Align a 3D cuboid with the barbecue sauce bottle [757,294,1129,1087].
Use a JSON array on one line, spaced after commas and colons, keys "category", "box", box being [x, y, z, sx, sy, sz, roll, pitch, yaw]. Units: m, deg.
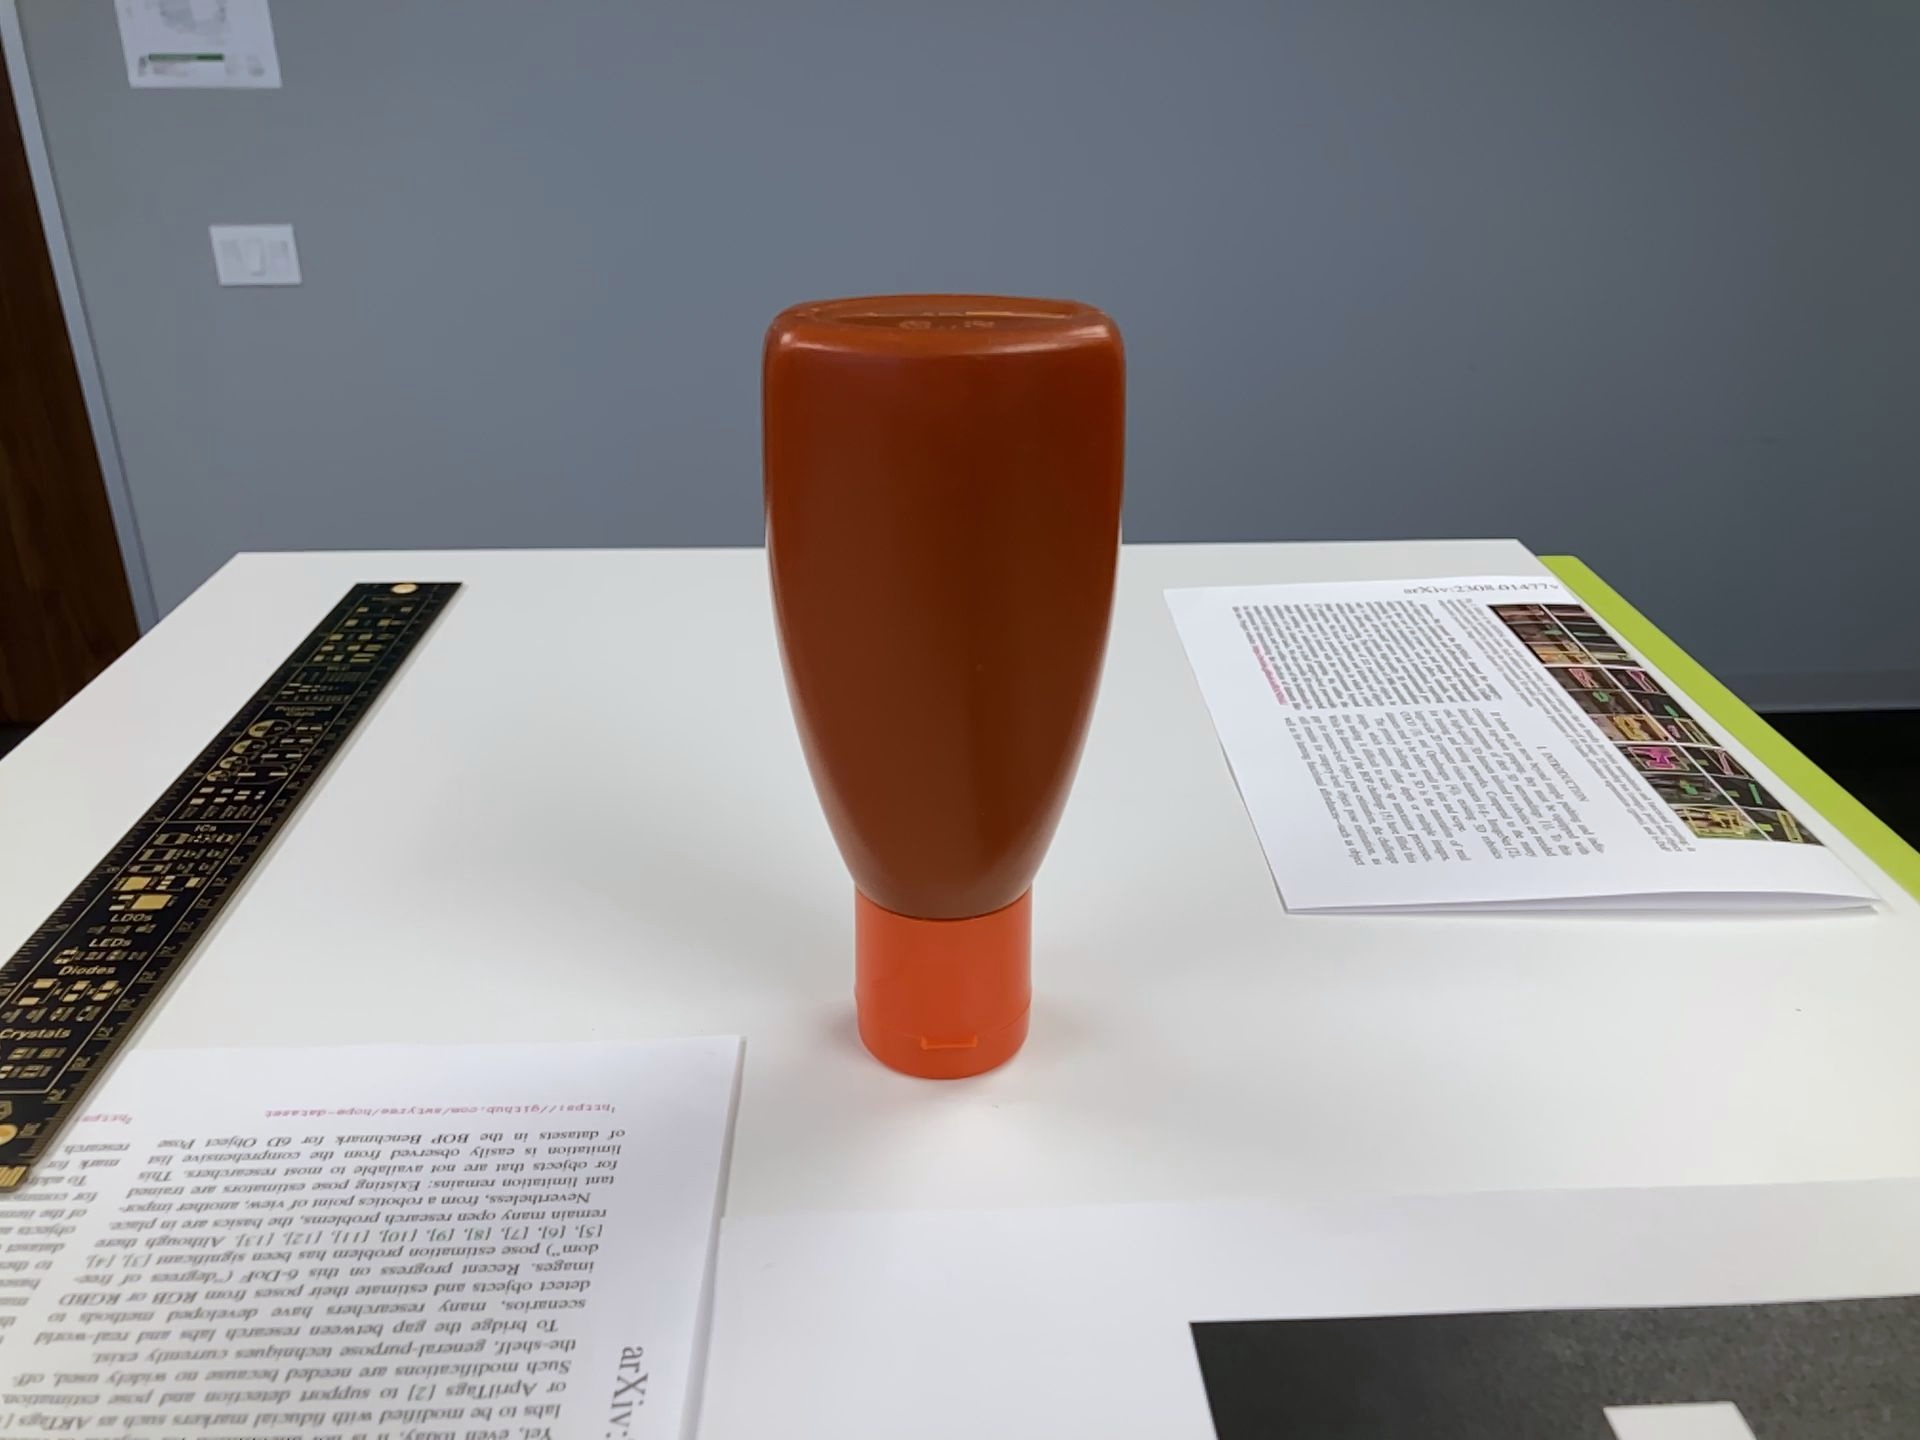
[{"category": "barbecue sauce bottle", "box": [-0.003, -0.002, 0.298, 0.065, 0.148, 0.043, -2, 24, -4]}]
